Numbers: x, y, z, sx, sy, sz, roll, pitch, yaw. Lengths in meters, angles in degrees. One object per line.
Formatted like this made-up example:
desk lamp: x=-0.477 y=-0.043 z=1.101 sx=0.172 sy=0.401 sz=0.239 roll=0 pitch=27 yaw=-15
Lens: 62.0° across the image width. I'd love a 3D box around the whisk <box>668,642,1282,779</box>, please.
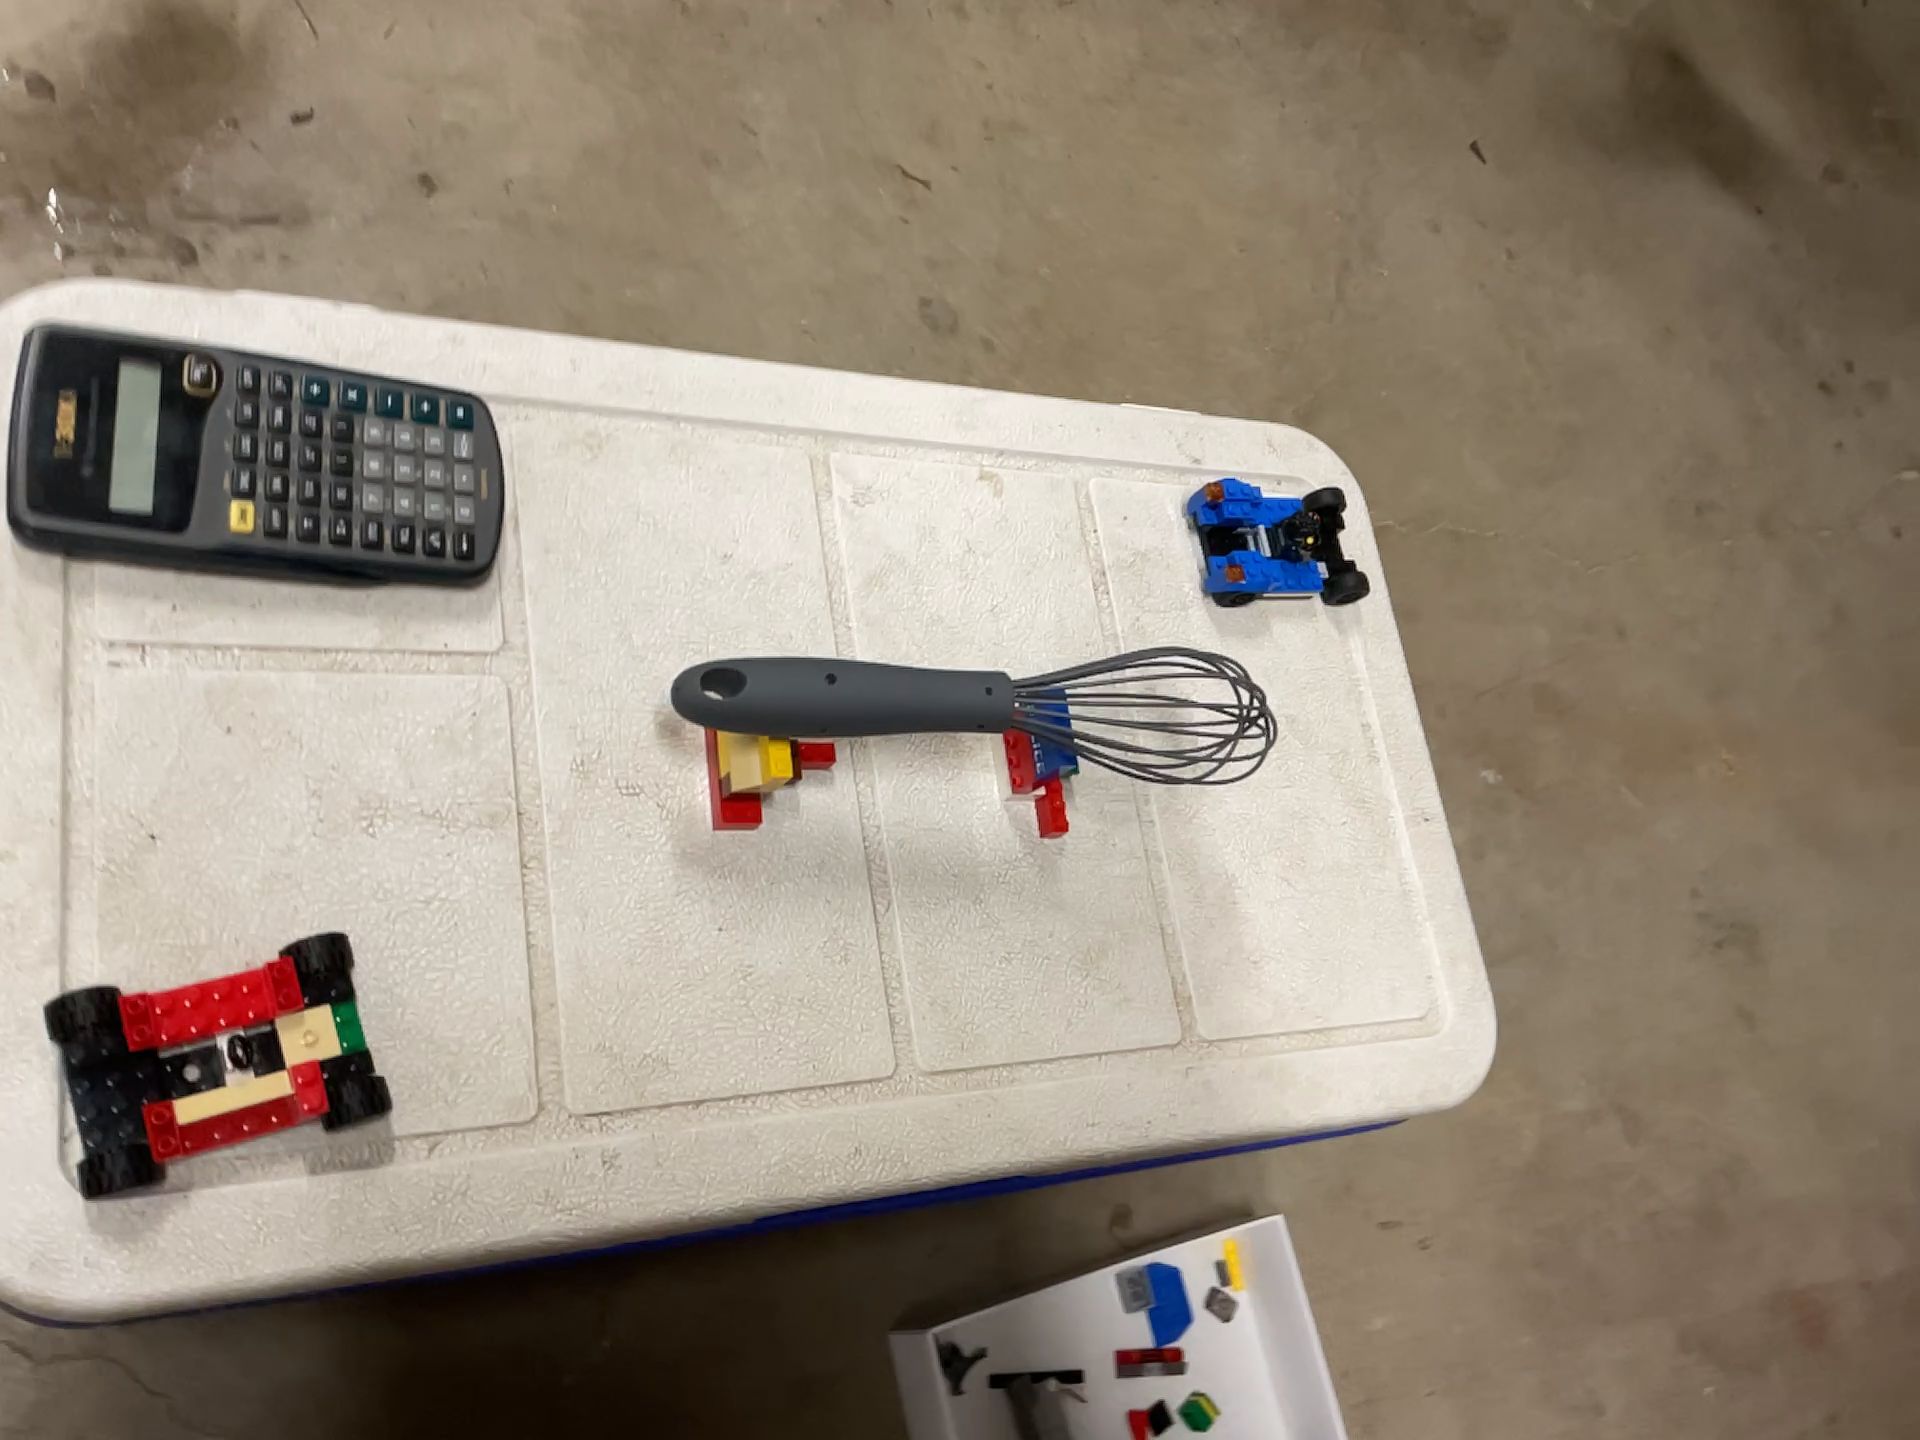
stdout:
whisk: x=0.012 y=-0.007 z=0.581 sx=0.239 sy=0.055 sz=0.055 roll=2 pitch=67 yaw=-23
